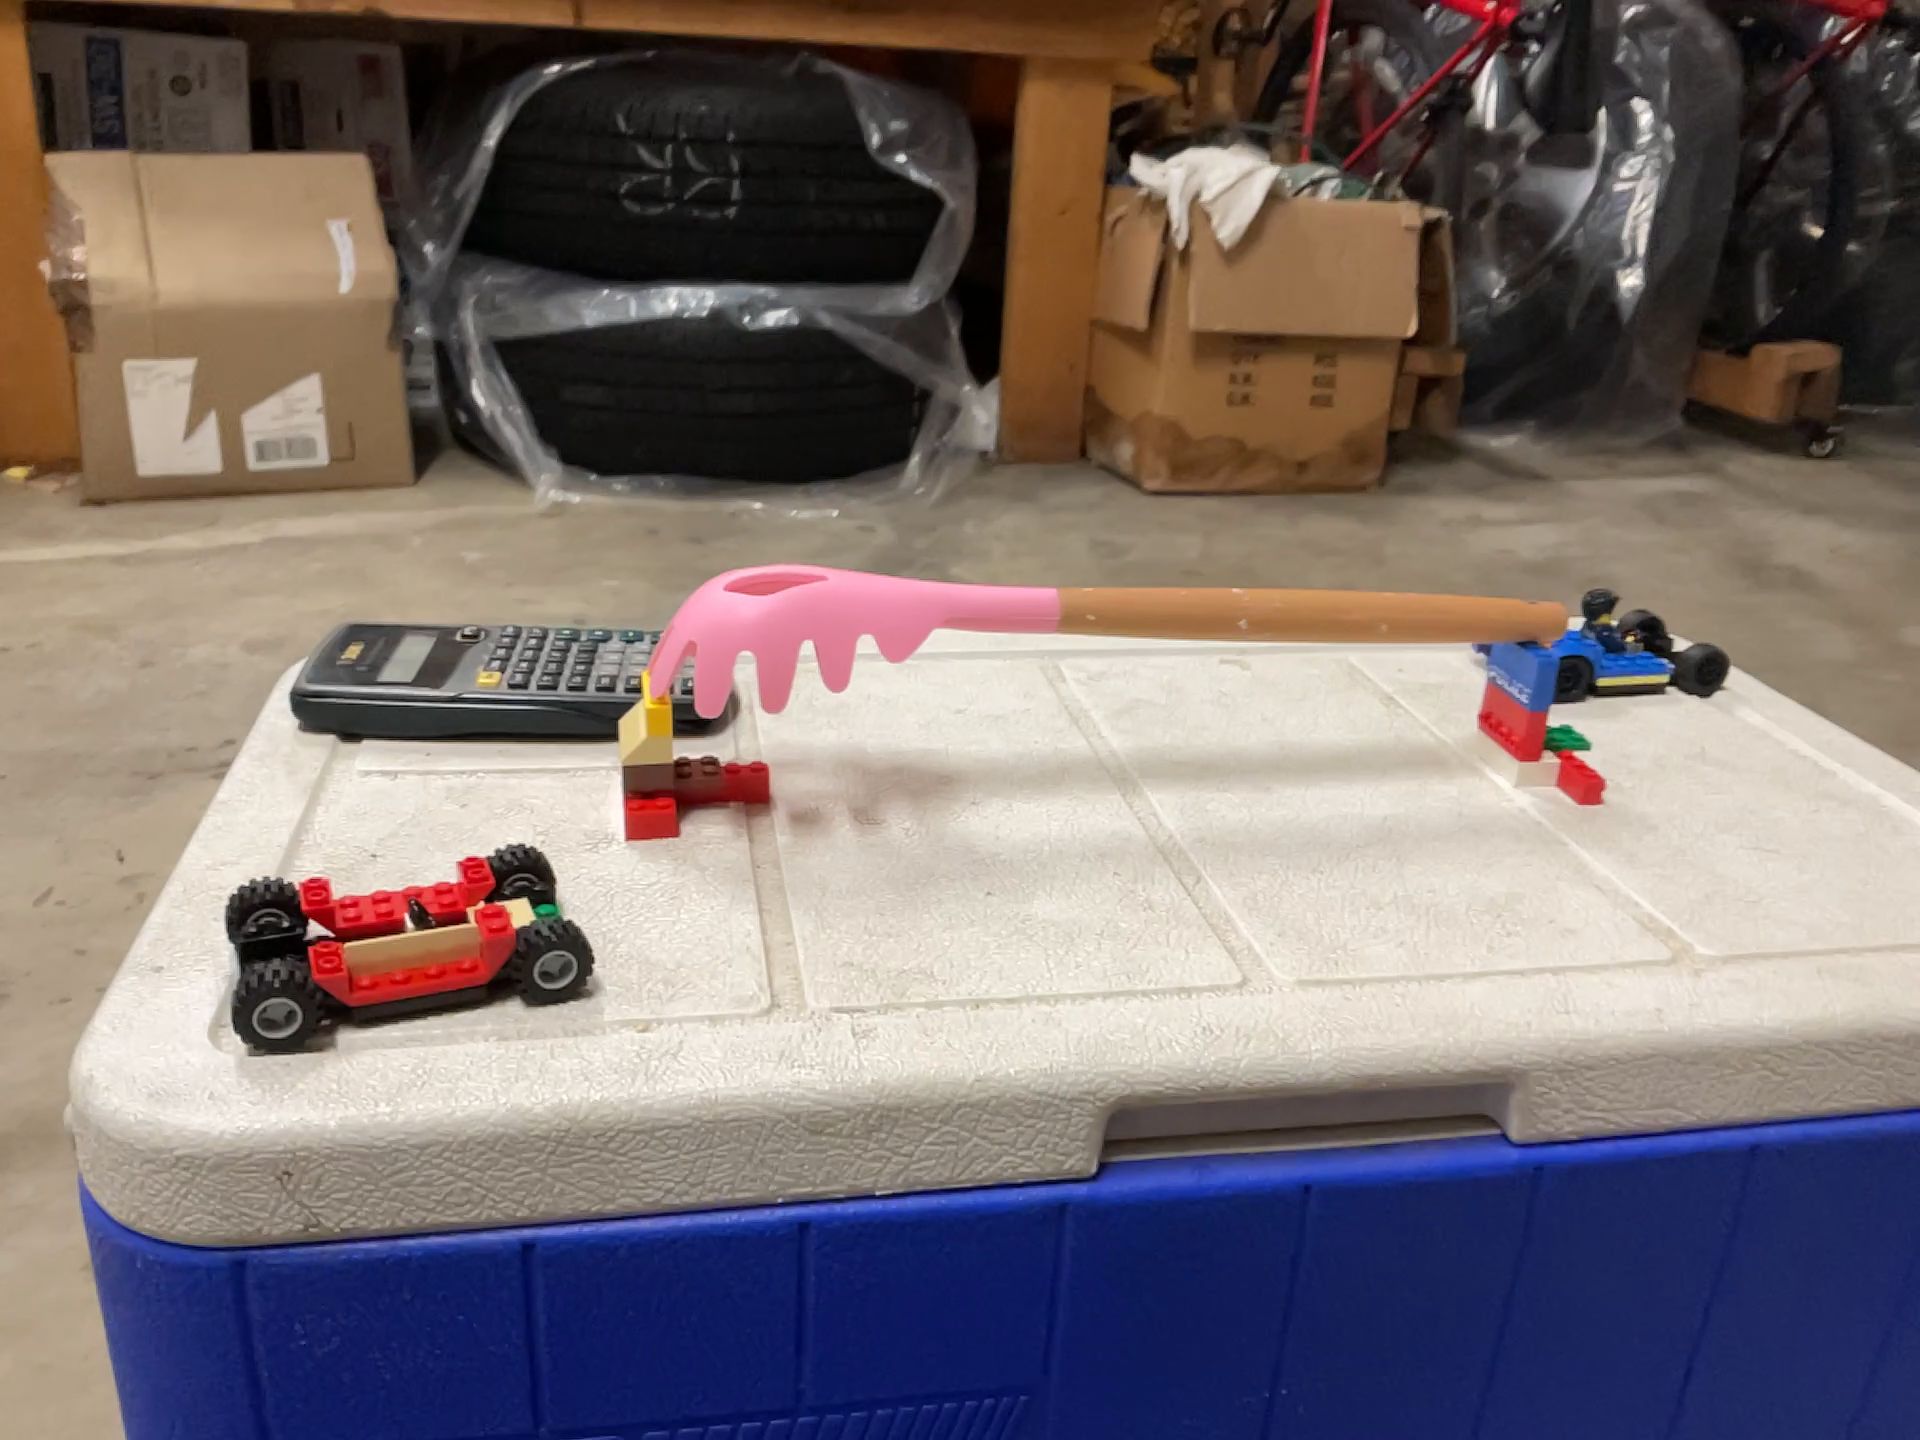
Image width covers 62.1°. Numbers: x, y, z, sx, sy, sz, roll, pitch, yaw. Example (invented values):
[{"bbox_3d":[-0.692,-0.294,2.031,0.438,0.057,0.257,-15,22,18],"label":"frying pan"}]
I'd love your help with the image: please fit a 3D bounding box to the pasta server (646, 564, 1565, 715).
[{"bbox_3d":[0.057,-0.028,0.533,0.316,0.040,0.060,1,21,-13],"label":"pasta server"}]
